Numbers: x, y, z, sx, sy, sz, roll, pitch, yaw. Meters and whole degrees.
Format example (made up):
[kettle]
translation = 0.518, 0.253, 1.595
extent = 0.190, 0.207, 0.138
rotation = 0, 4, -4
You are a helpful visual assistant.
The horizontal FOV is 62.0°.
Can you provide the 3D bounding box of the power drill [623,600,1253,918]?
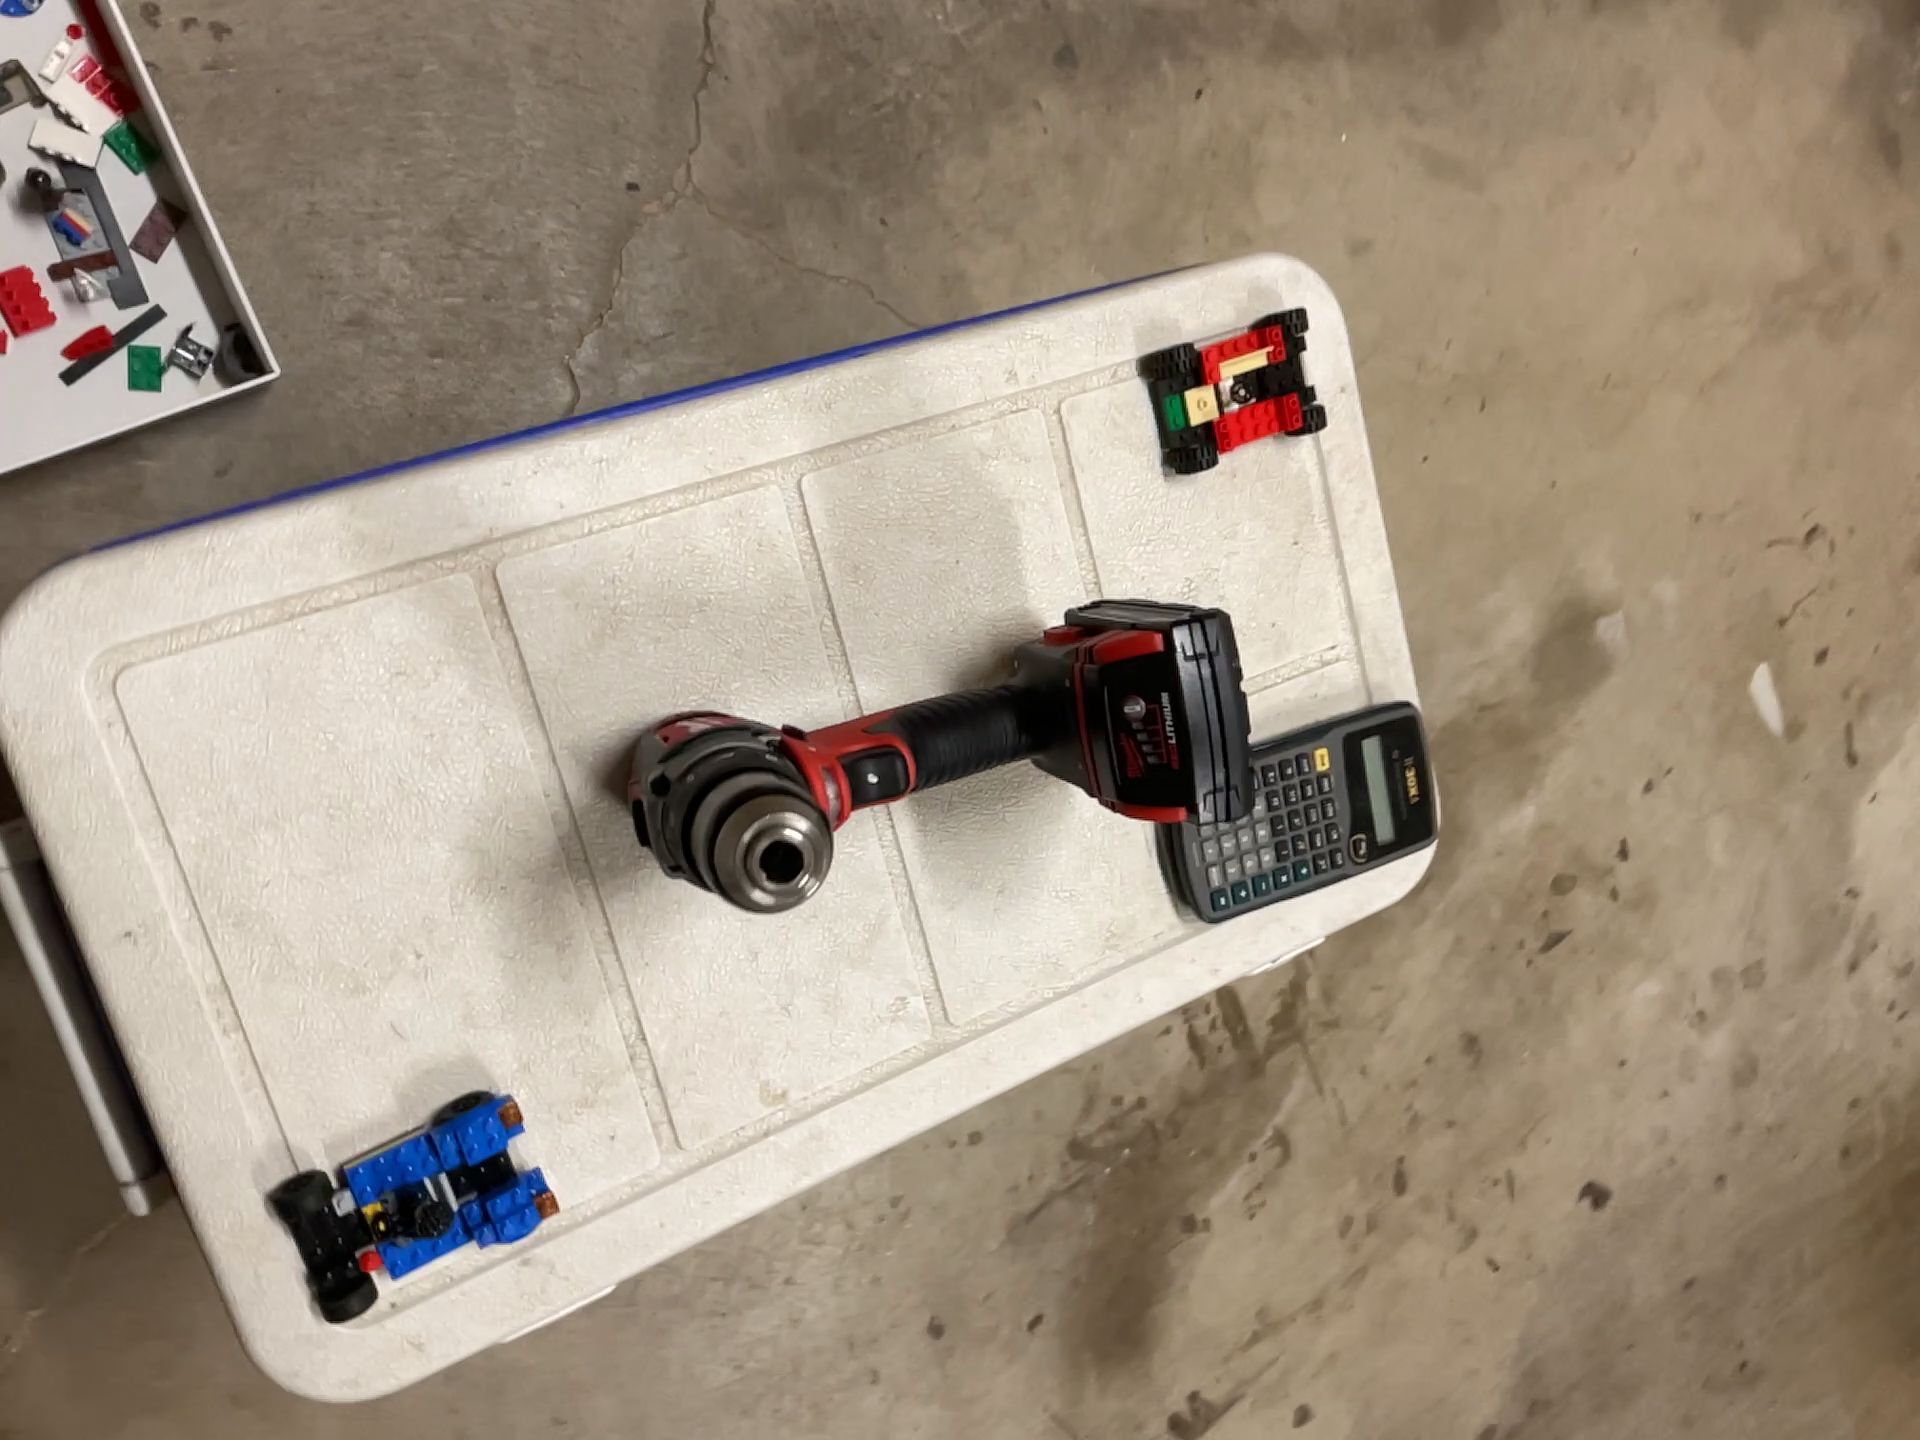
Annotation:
[power drill]
translation = -0.008, 0.016, 0.590
extent = 0.227, 0.188, 0.080
rotation = -12, 100, -16
